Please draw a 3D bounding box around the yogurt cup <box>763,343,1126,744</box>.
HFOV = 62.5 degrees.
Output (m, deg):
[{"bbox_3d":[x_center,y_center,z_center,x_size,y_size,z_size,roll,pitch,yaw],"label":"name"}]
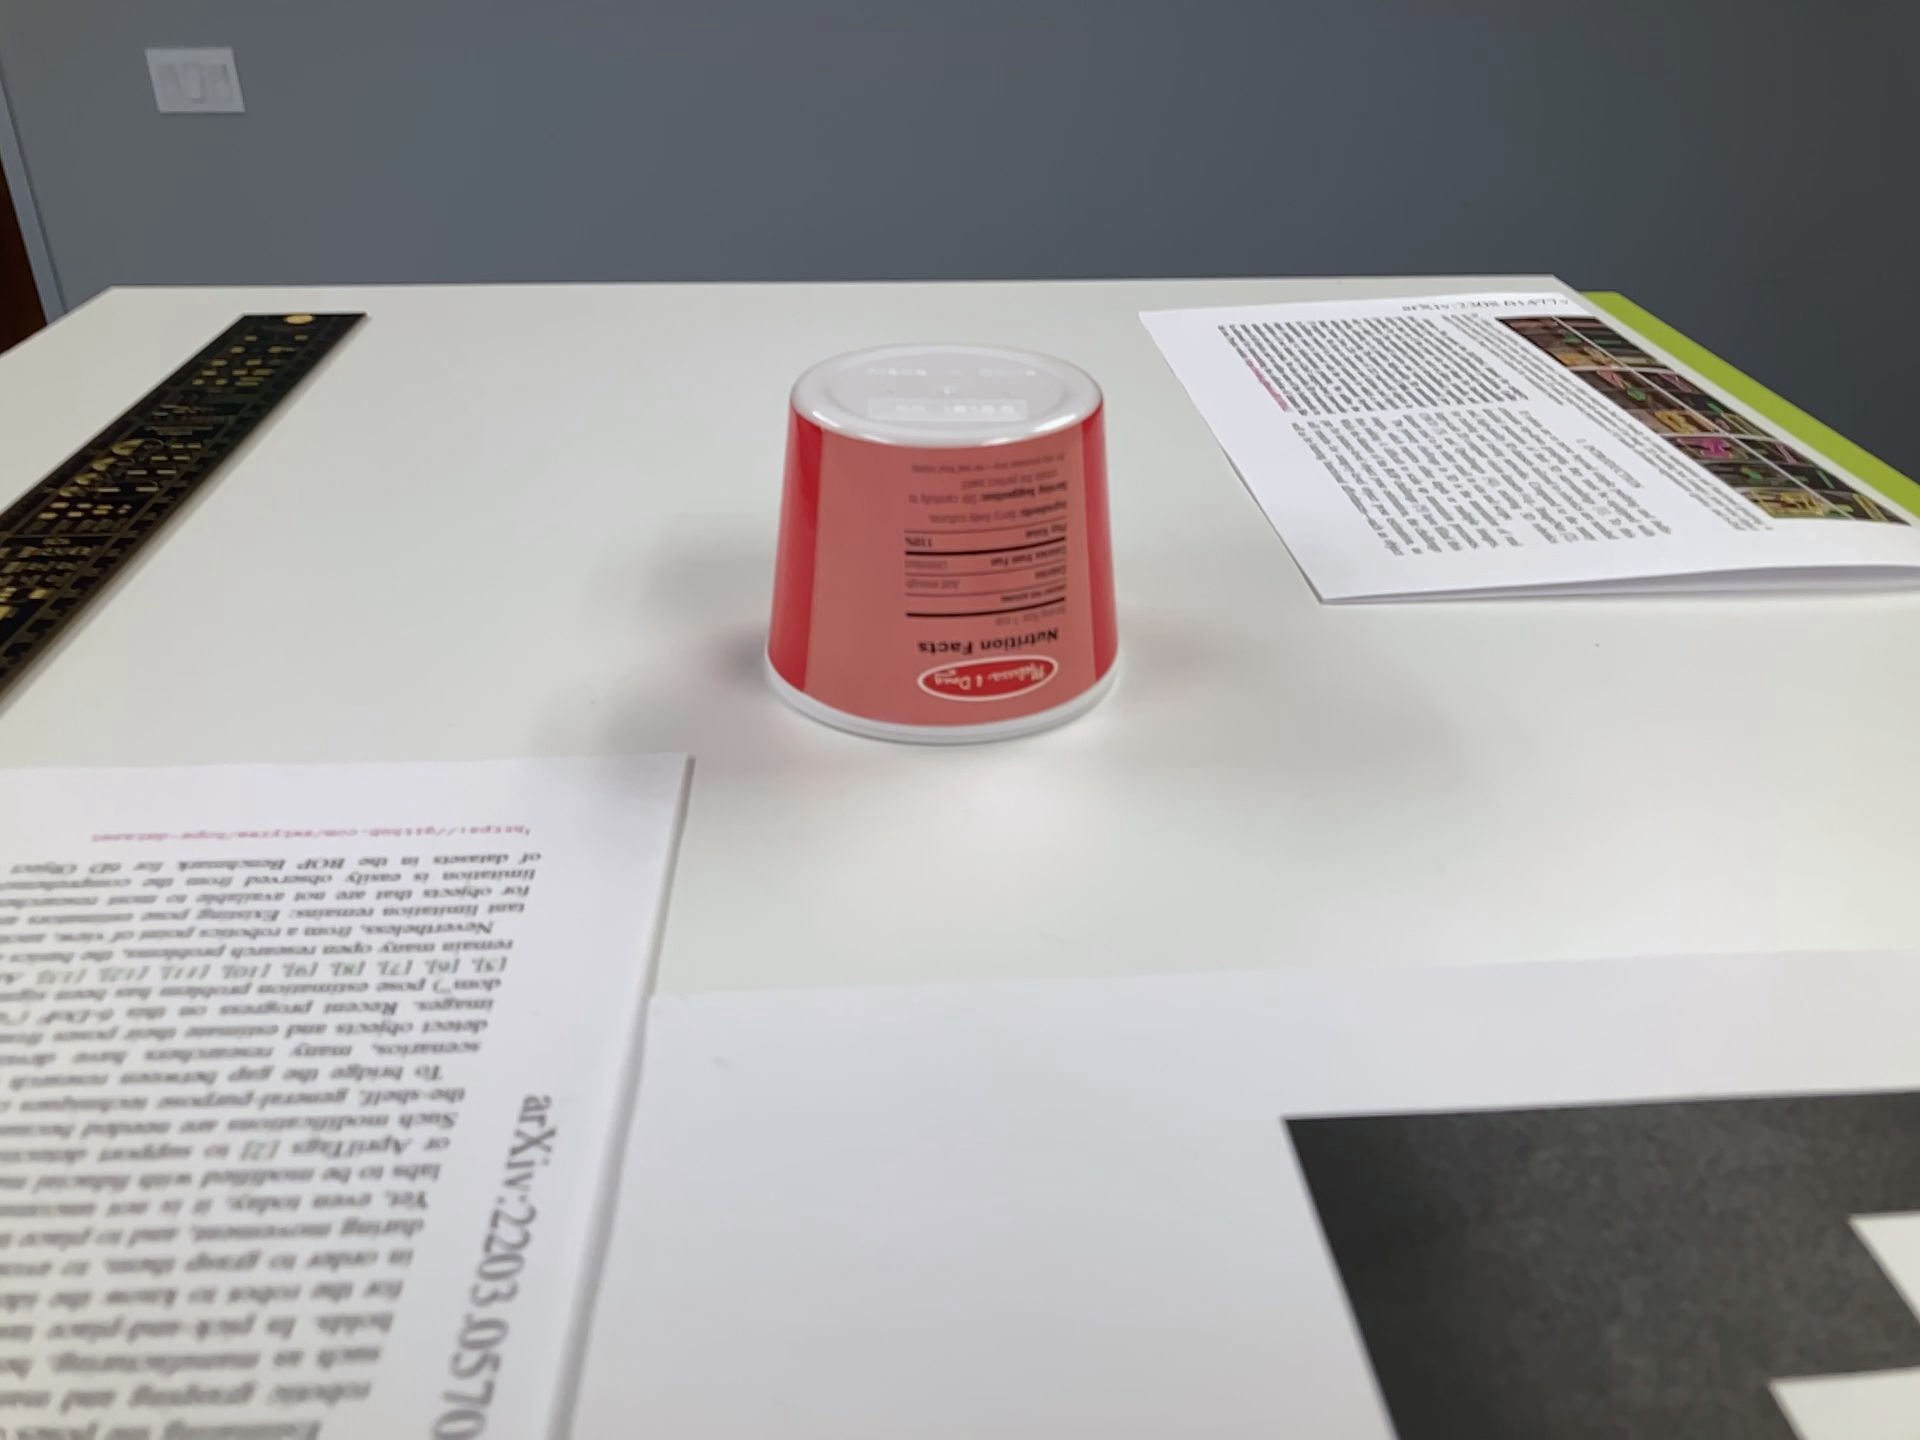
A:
[{"bbox_3d":[-0.002,-0.035,0.287,0.072,0.054,0.072,1,29,-1],"label":"yogurt cup"}]
